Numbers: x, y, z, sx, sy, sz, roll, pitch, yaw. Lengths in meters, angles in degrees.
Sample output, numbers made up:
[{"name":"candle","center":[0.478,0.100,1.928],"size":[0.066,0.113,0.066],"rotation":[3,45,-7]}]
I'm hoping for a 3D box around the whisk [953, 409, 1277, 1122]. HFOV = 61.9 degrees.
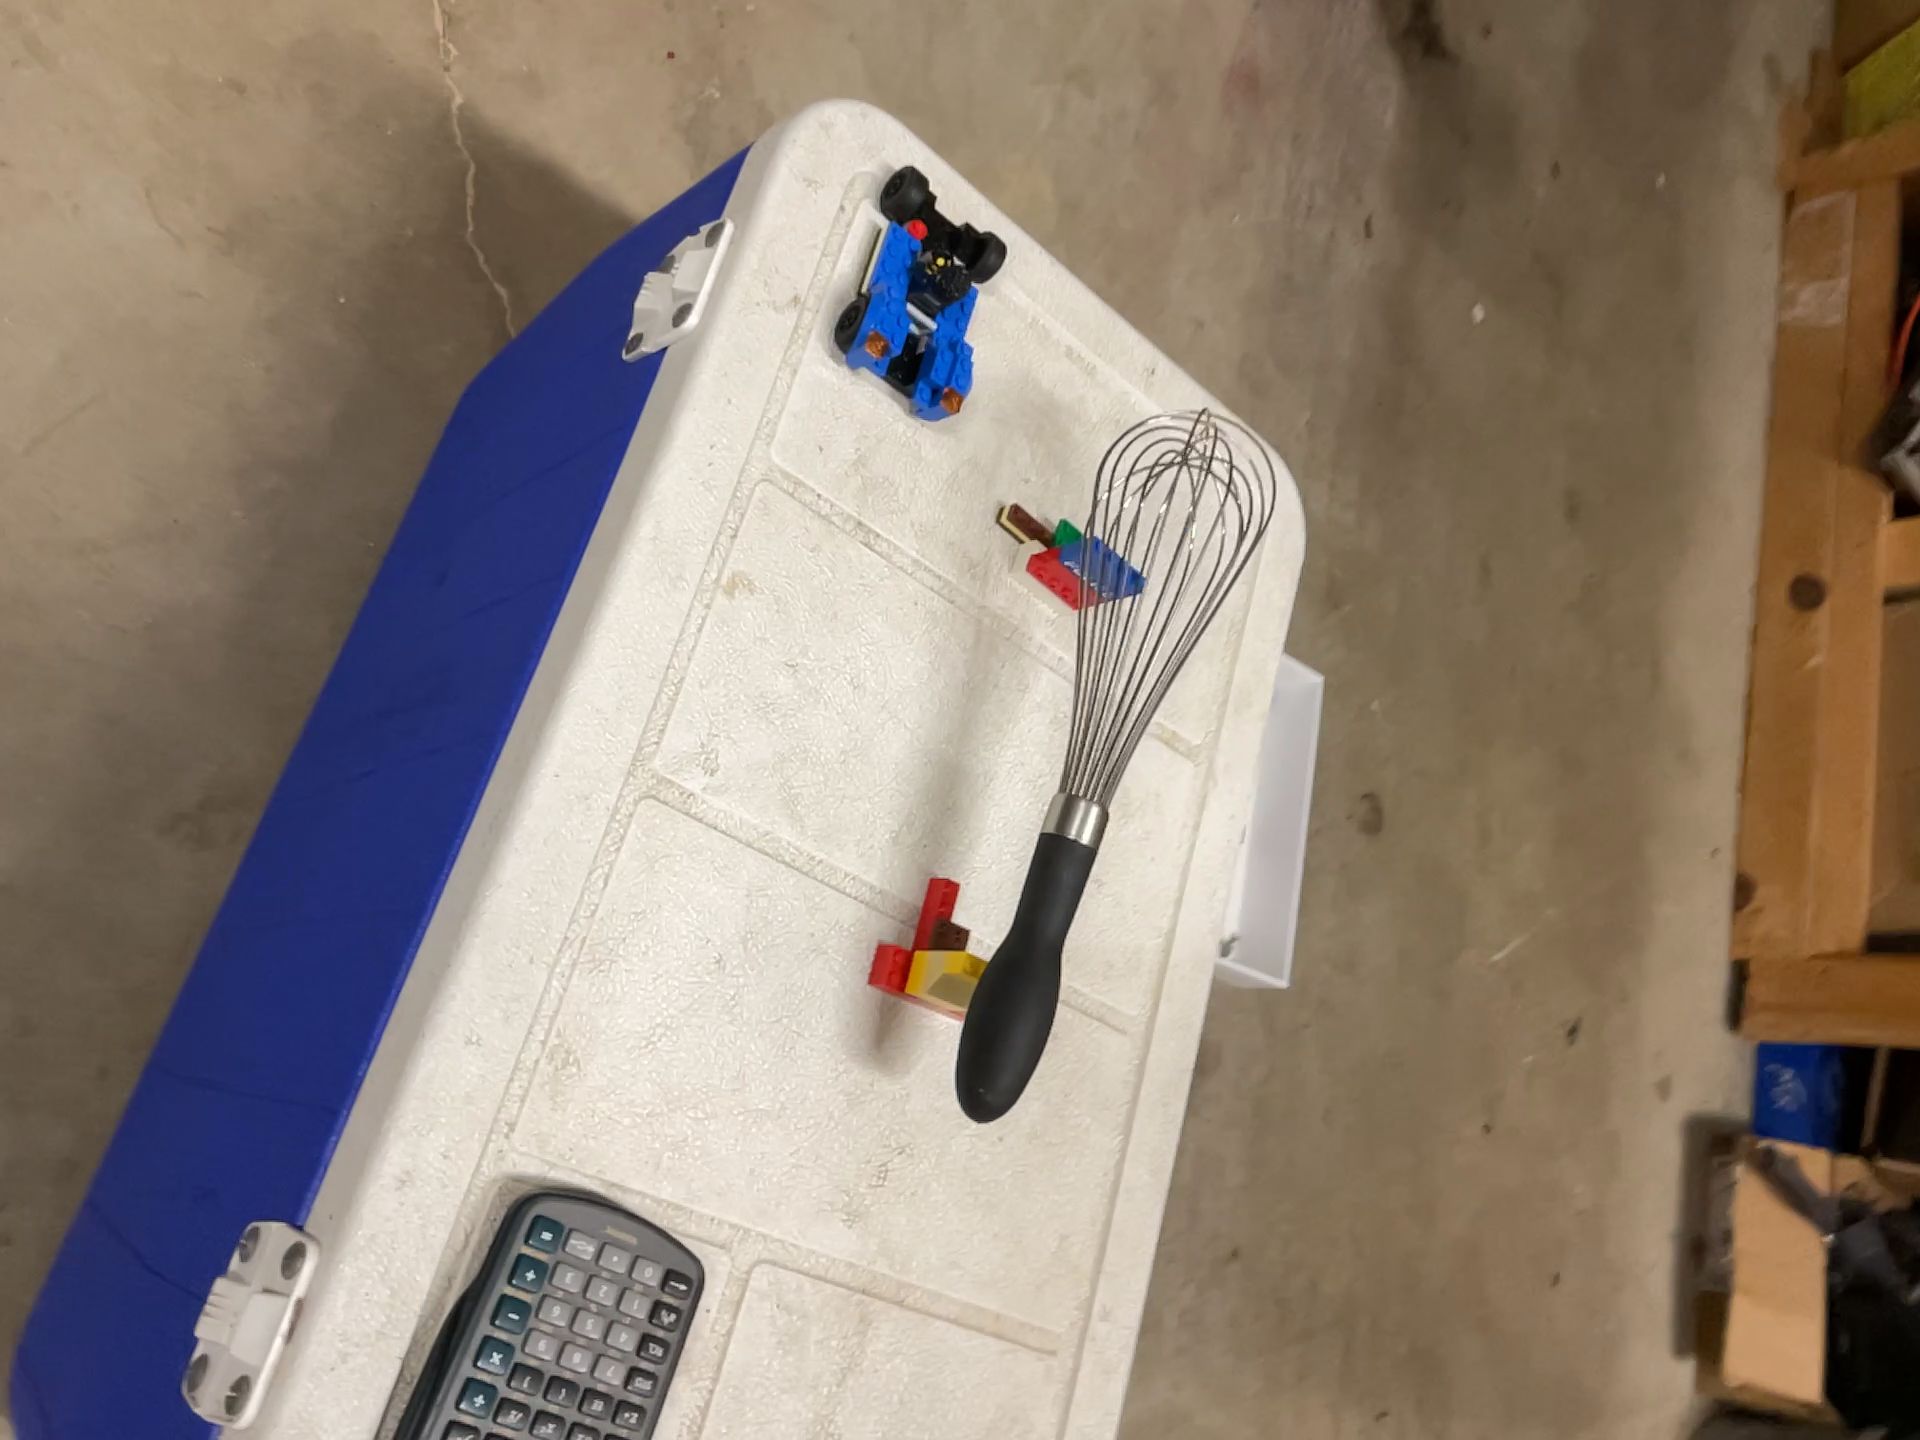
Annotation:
[{"name":"whisk","center":[0.053,0.009,0.590],"size":[0.070,0.070,0.285],"rotation":[32,70,-38]}]
